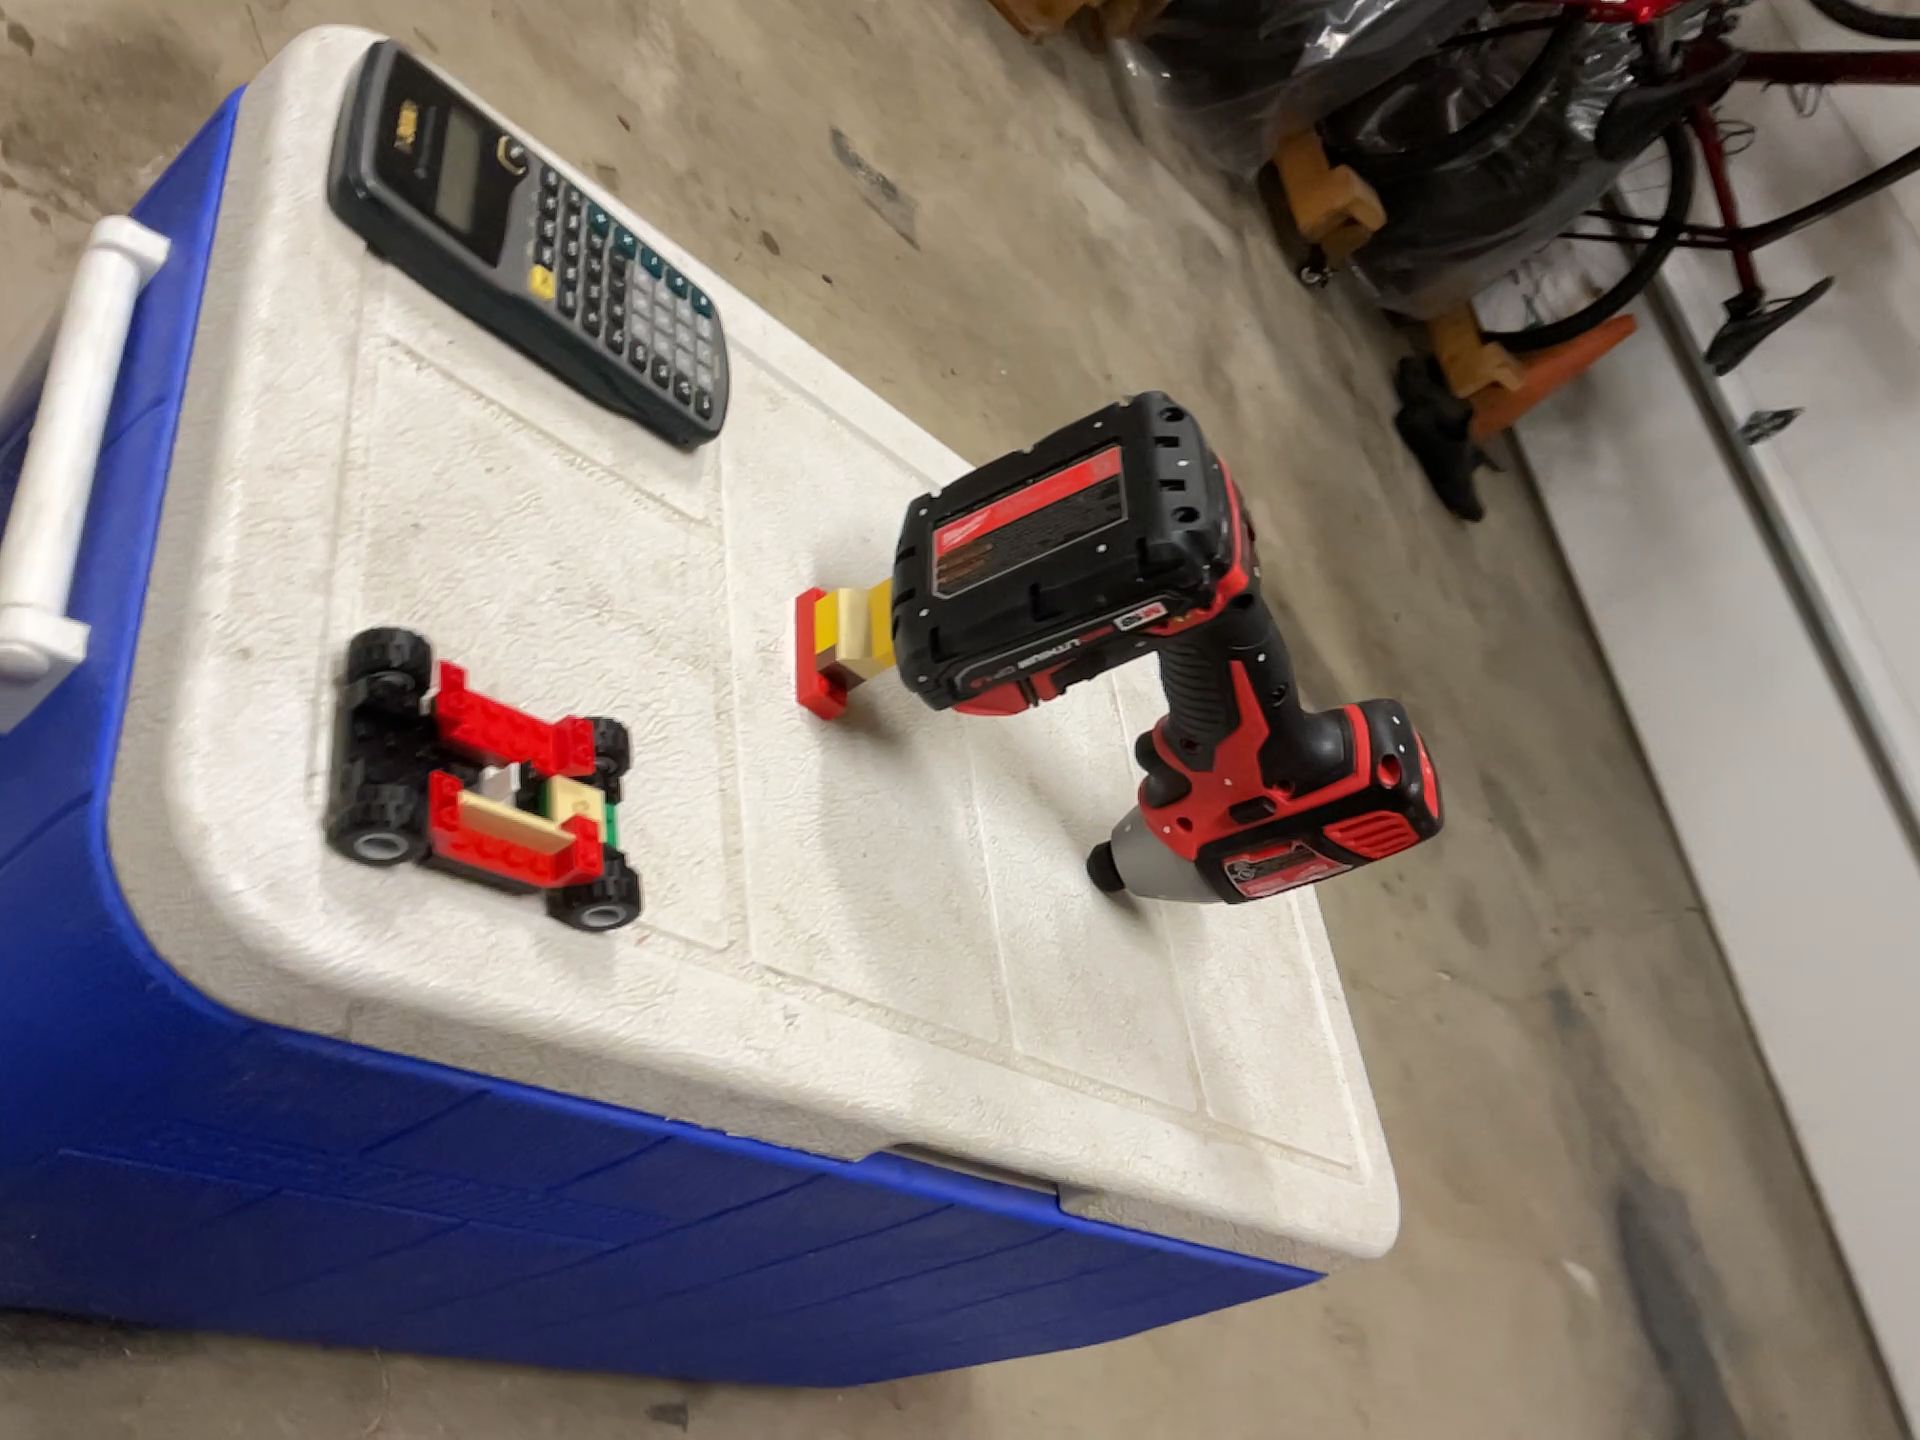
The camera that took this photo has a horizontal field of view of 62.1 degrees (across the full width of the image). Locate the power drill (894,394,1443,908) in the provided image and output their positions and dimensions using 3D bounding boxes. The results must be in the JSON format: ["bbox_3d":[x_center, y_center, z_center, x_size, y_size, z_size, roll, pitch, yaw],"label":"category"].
[{"bbox_3d":[0.075,-0.003,0.589,0.219,0.143,0.079,45,33,-40],"label":"power drill"}]
